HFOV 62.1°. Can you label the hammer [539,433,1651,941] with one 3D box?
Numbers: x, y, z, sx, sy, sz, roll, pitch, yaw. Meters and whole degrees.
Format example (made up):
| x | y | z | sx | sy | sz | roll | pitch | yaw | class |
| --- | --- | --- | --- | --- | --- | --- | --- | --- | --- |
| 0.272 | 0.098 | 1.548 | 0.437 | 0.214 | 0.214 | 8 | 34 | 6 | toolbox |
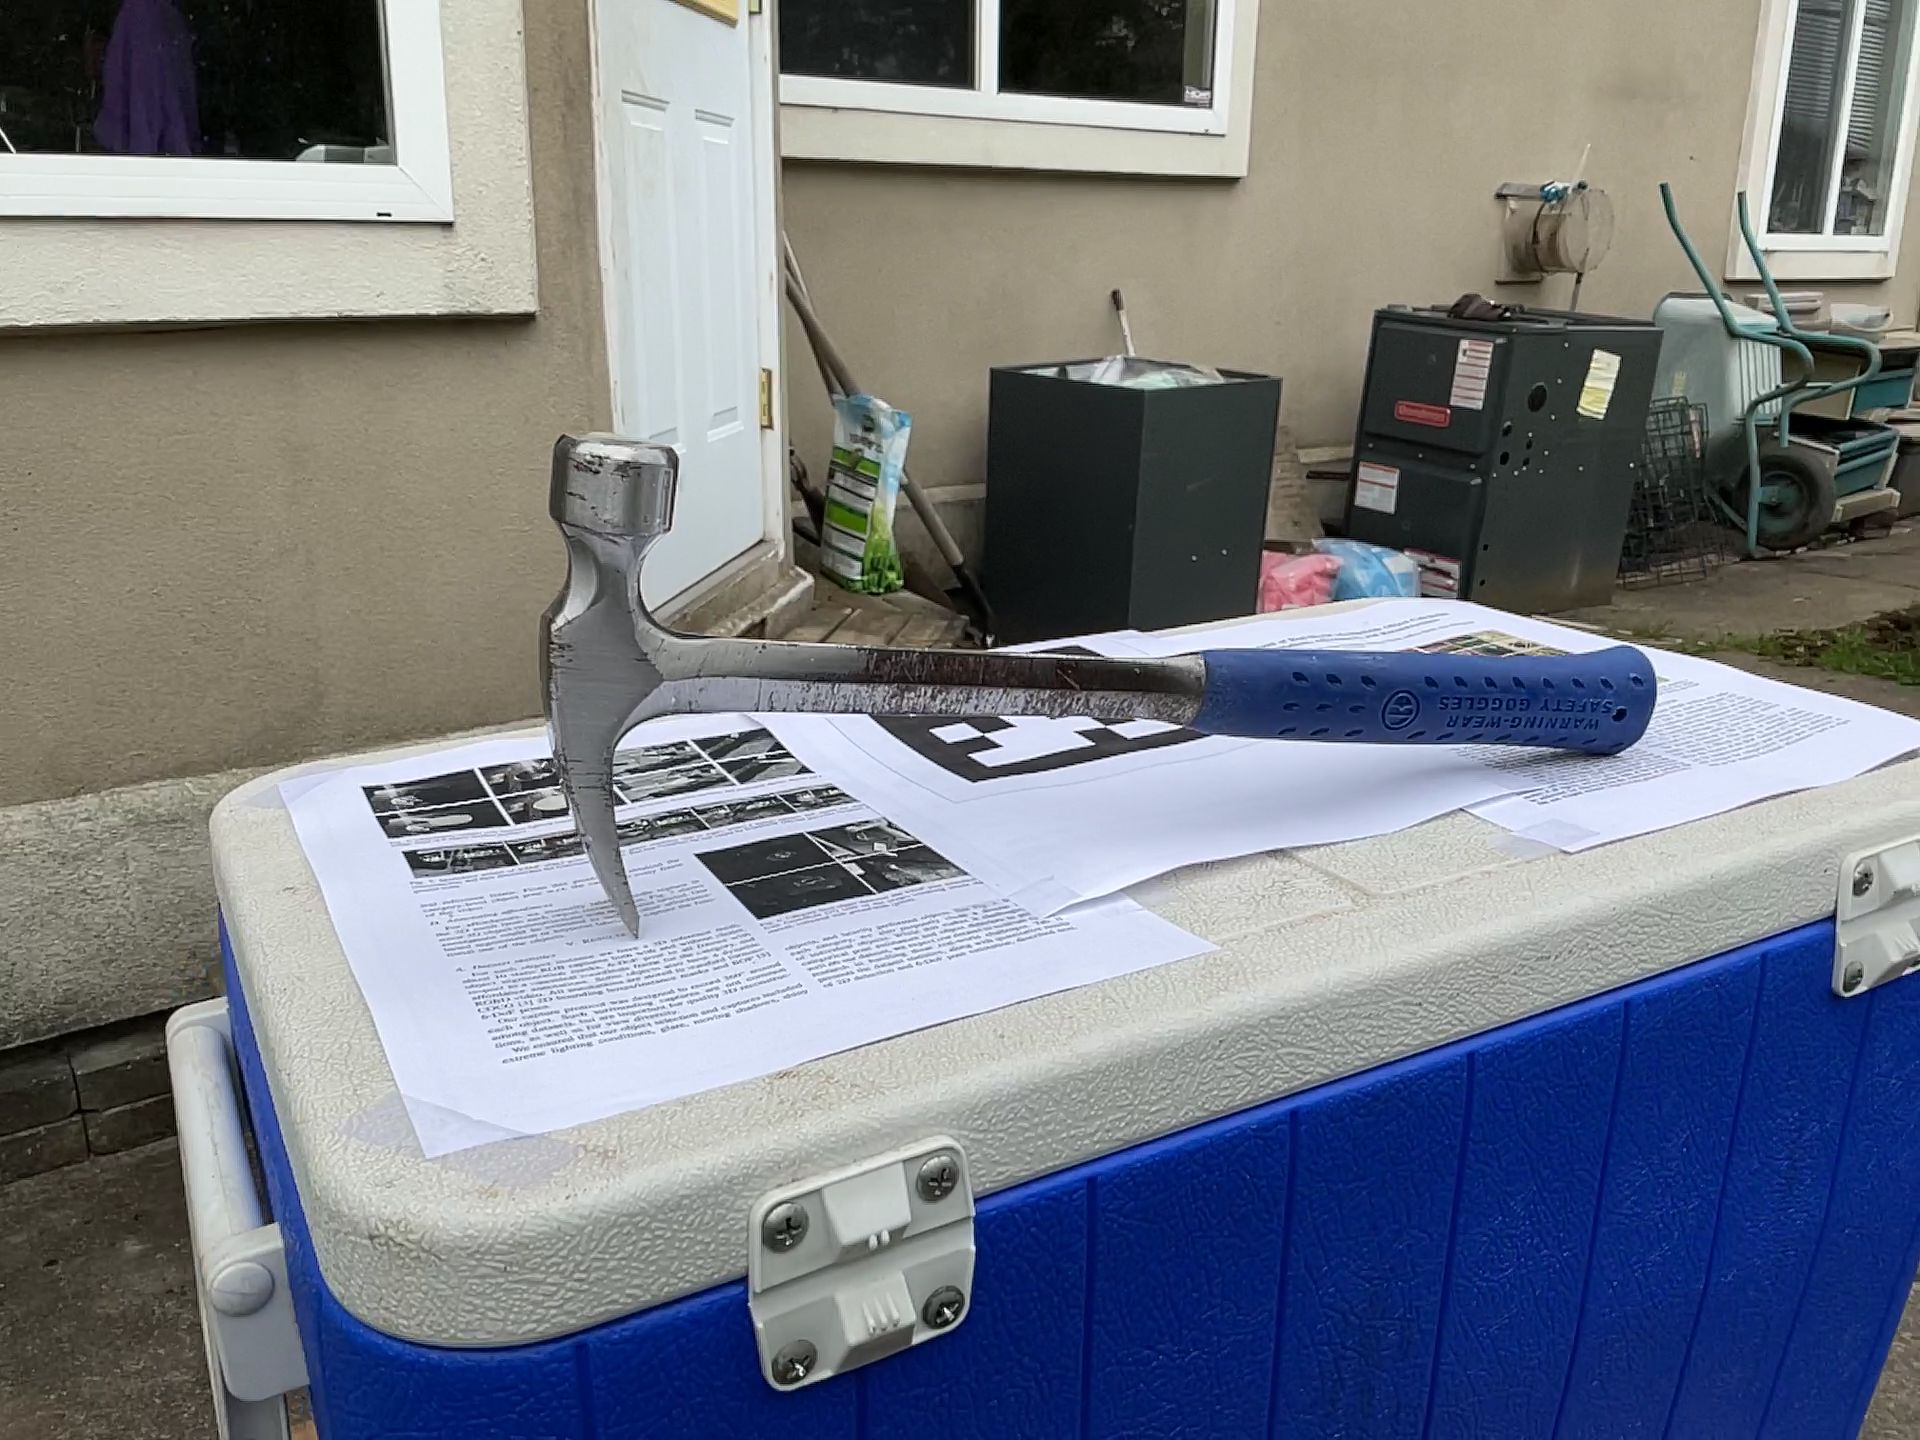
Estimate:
| x | y | z | sx | sy | sz | roll | pitch | yaw | class |
| --- | --- | --- | --- | --- | --- | --- | --- | --- | --- |
| 0.066 | -0.005 | 0.532 | 0.405 | 0.144 | 0.035 | 1 | 17 | -24 | hammer |
